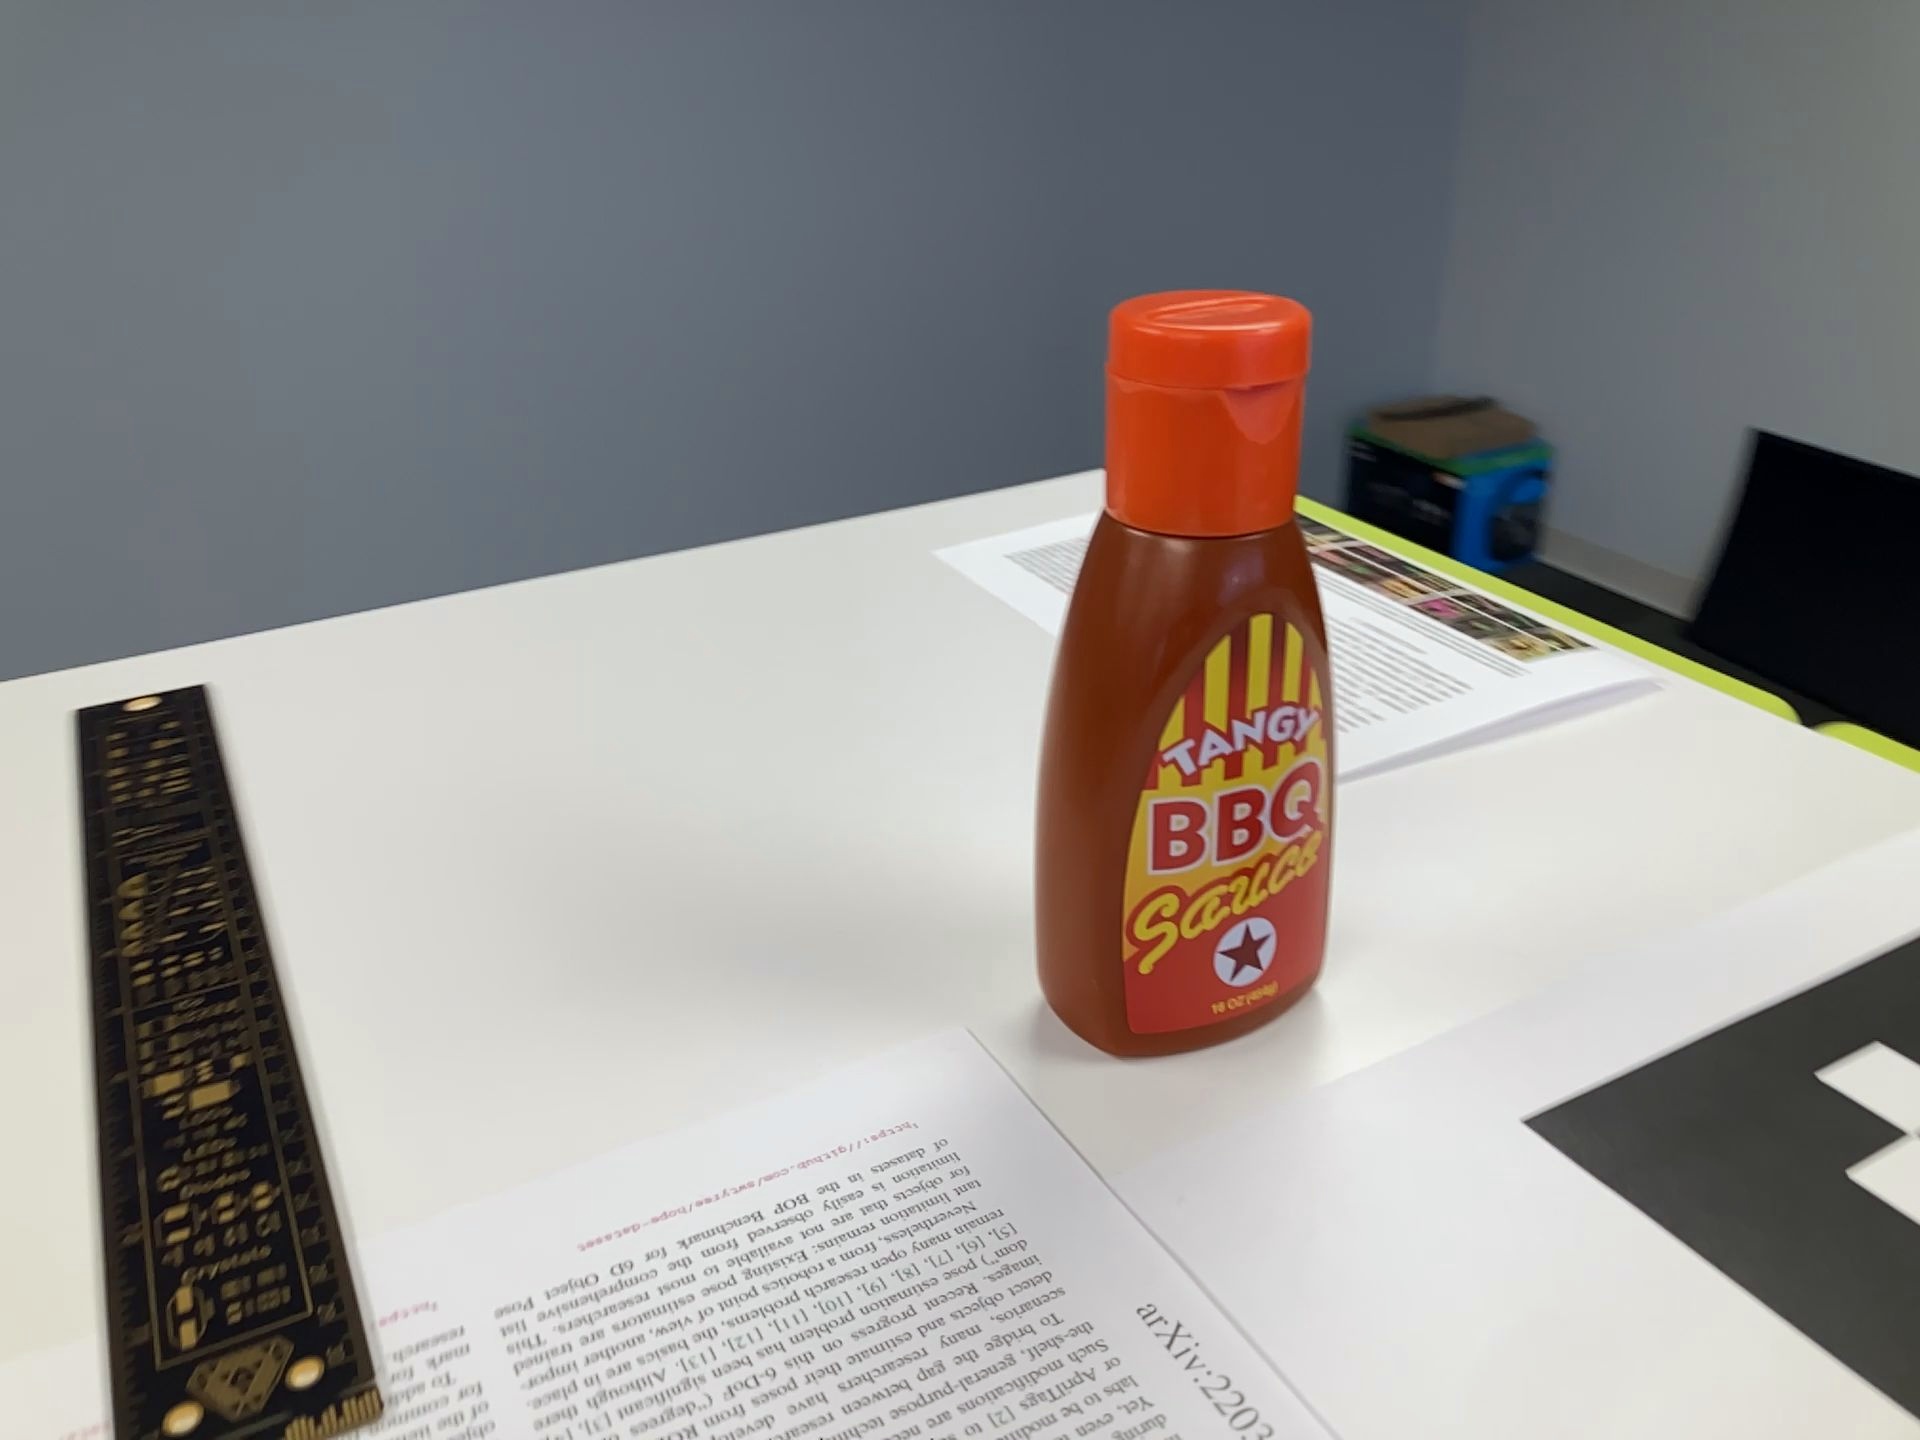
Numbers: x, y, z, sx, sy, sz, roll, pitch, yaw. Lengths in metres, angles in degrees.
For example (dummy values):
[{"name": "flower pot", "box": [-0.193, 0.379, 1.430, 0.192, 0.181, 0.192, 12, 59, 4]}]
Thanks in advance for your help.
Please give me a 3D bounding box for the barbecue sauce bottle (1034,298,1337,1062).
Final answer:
[{"name": "barbecue sauce bottle", "box": [0.046, -0.006, 0.318, 0.065, 0.148, 0.043, -13, 27, -24]}]
